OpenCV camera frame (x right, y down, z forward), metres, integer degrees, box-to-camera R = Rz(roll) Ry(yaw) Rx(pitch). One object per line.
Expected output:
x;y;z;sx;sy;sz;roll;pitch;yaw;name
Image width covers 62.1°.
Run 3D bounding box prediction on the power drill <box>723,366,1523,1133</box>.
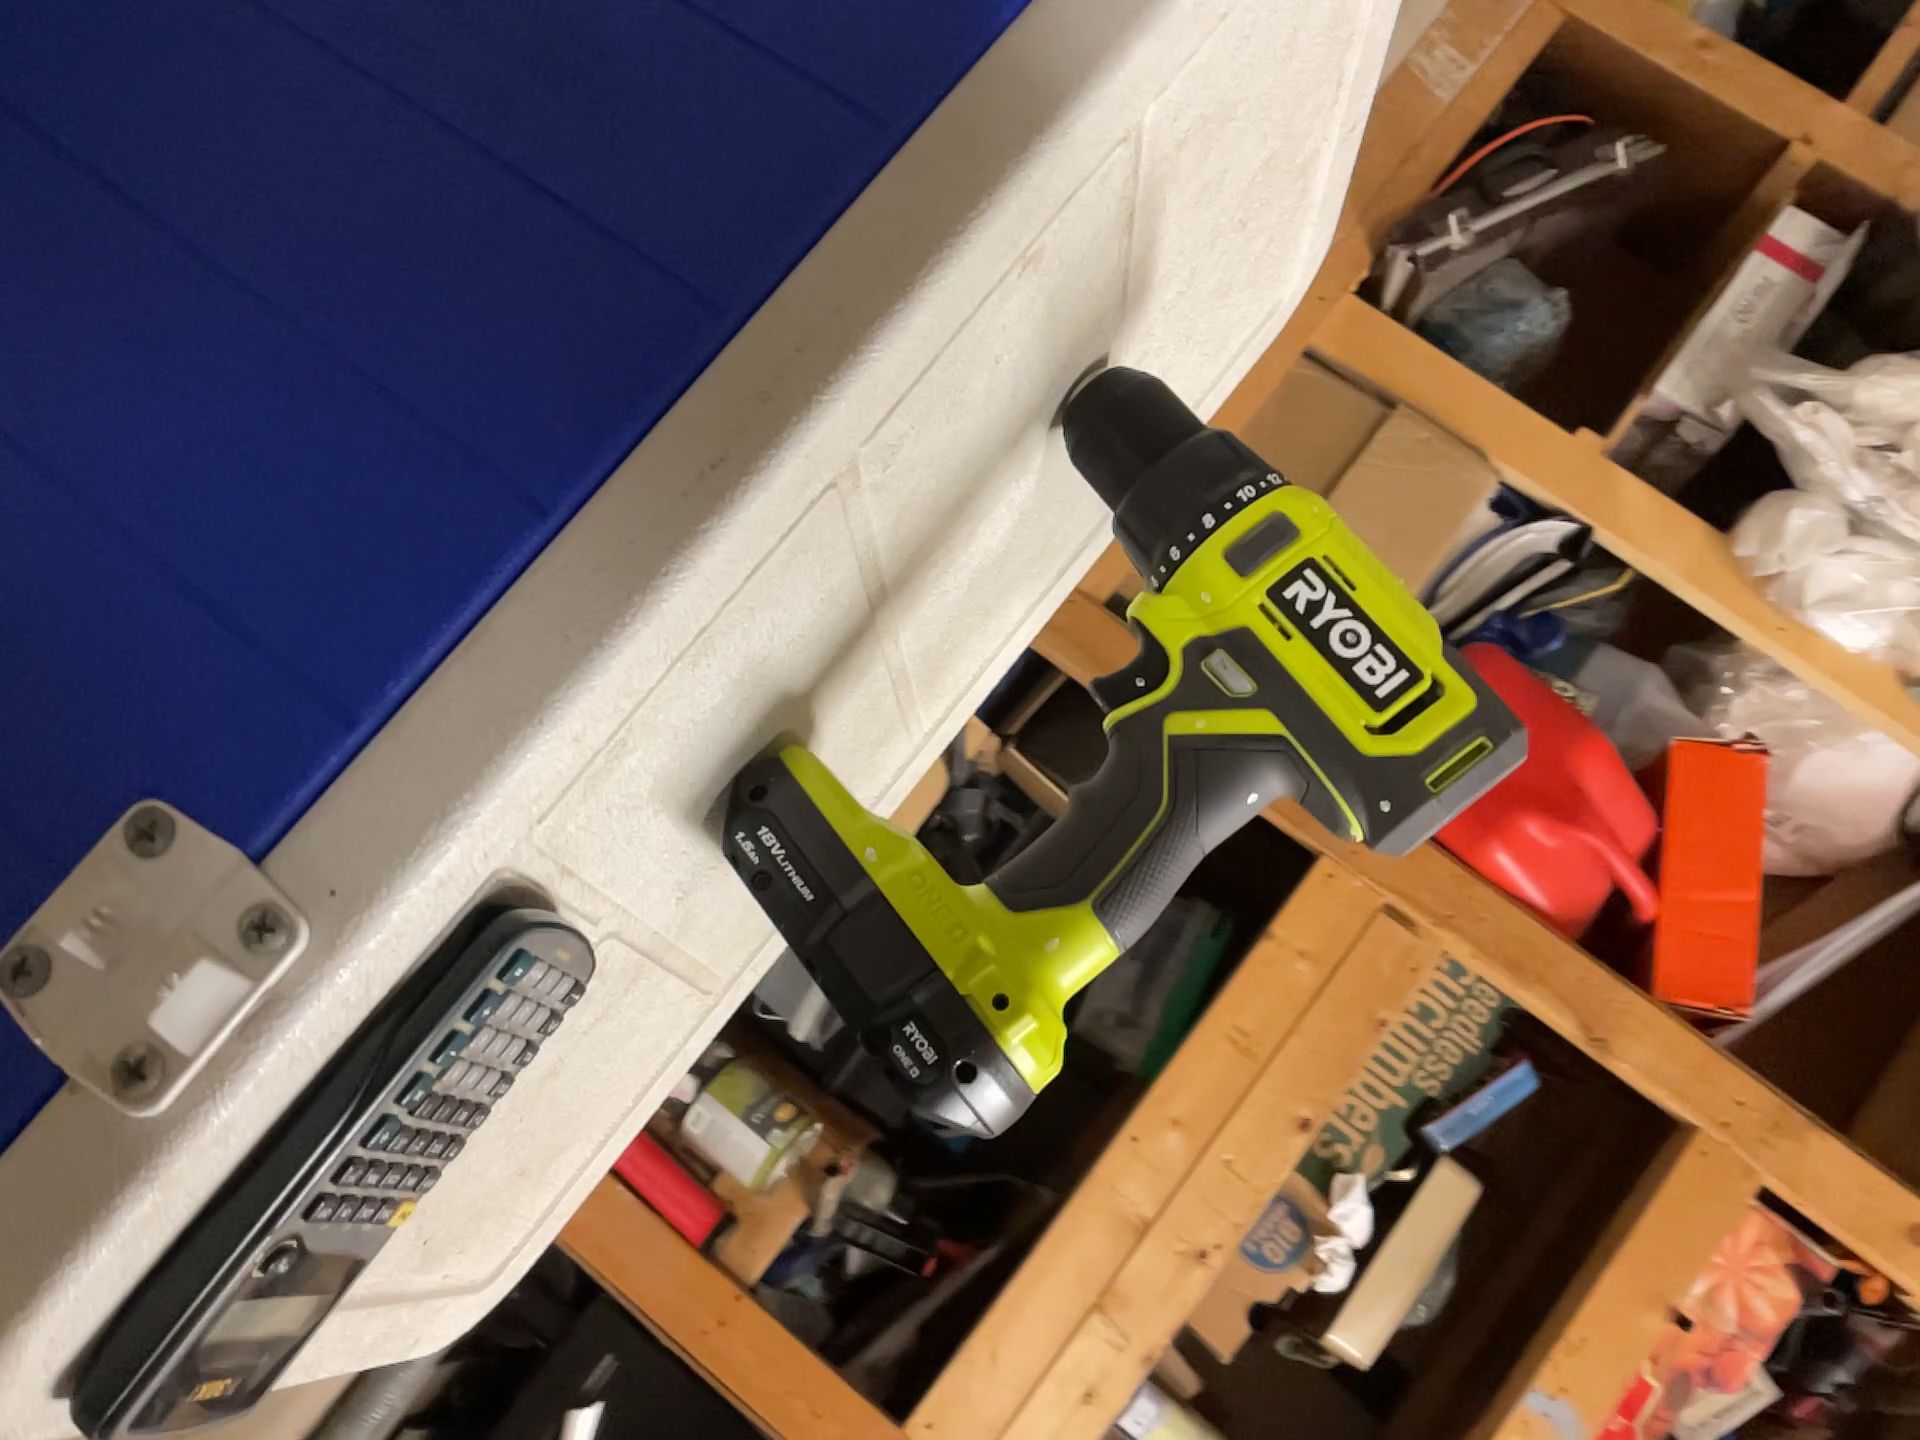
0.040;0.005;0.527;0.228;0.190;0.080;-37;165;-6;power drill
